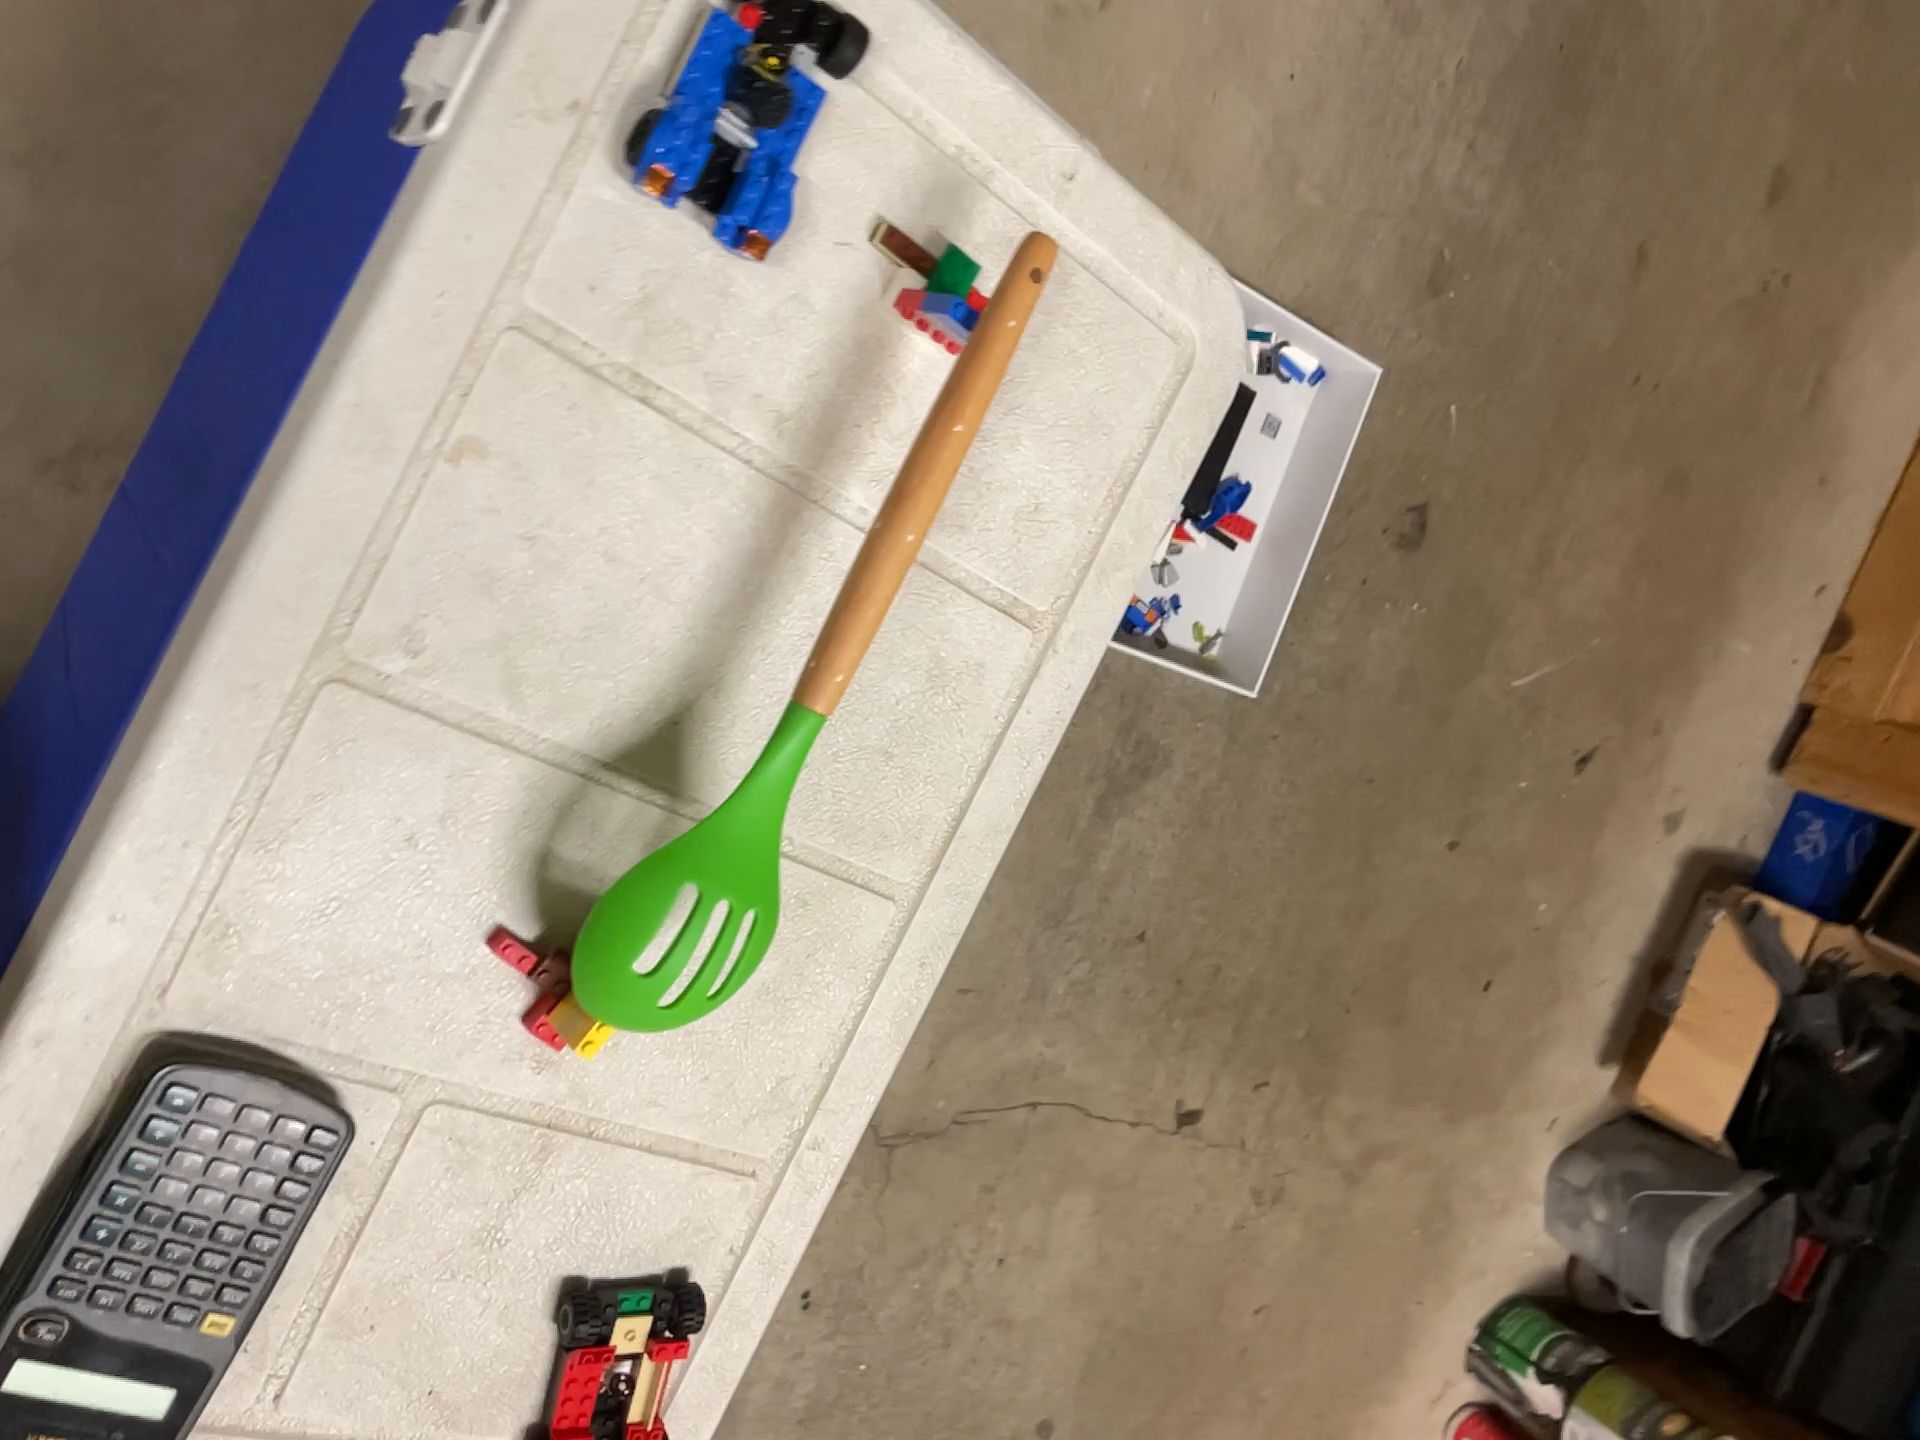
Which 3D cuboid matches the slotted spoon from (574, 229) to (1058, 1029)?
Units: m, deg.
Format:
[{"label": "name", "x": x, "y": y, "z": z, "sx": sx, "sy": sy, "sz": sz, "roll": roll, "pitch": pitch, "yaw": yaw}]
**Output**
[{"label": "slotted spoon", "x": -0.043, "y": -0.029, "z": 0.555, "sx": 0.070, "sy": 0.031, "sz": 0.314, "roll": 27, "pitch": 90, "yaw": -36}]
